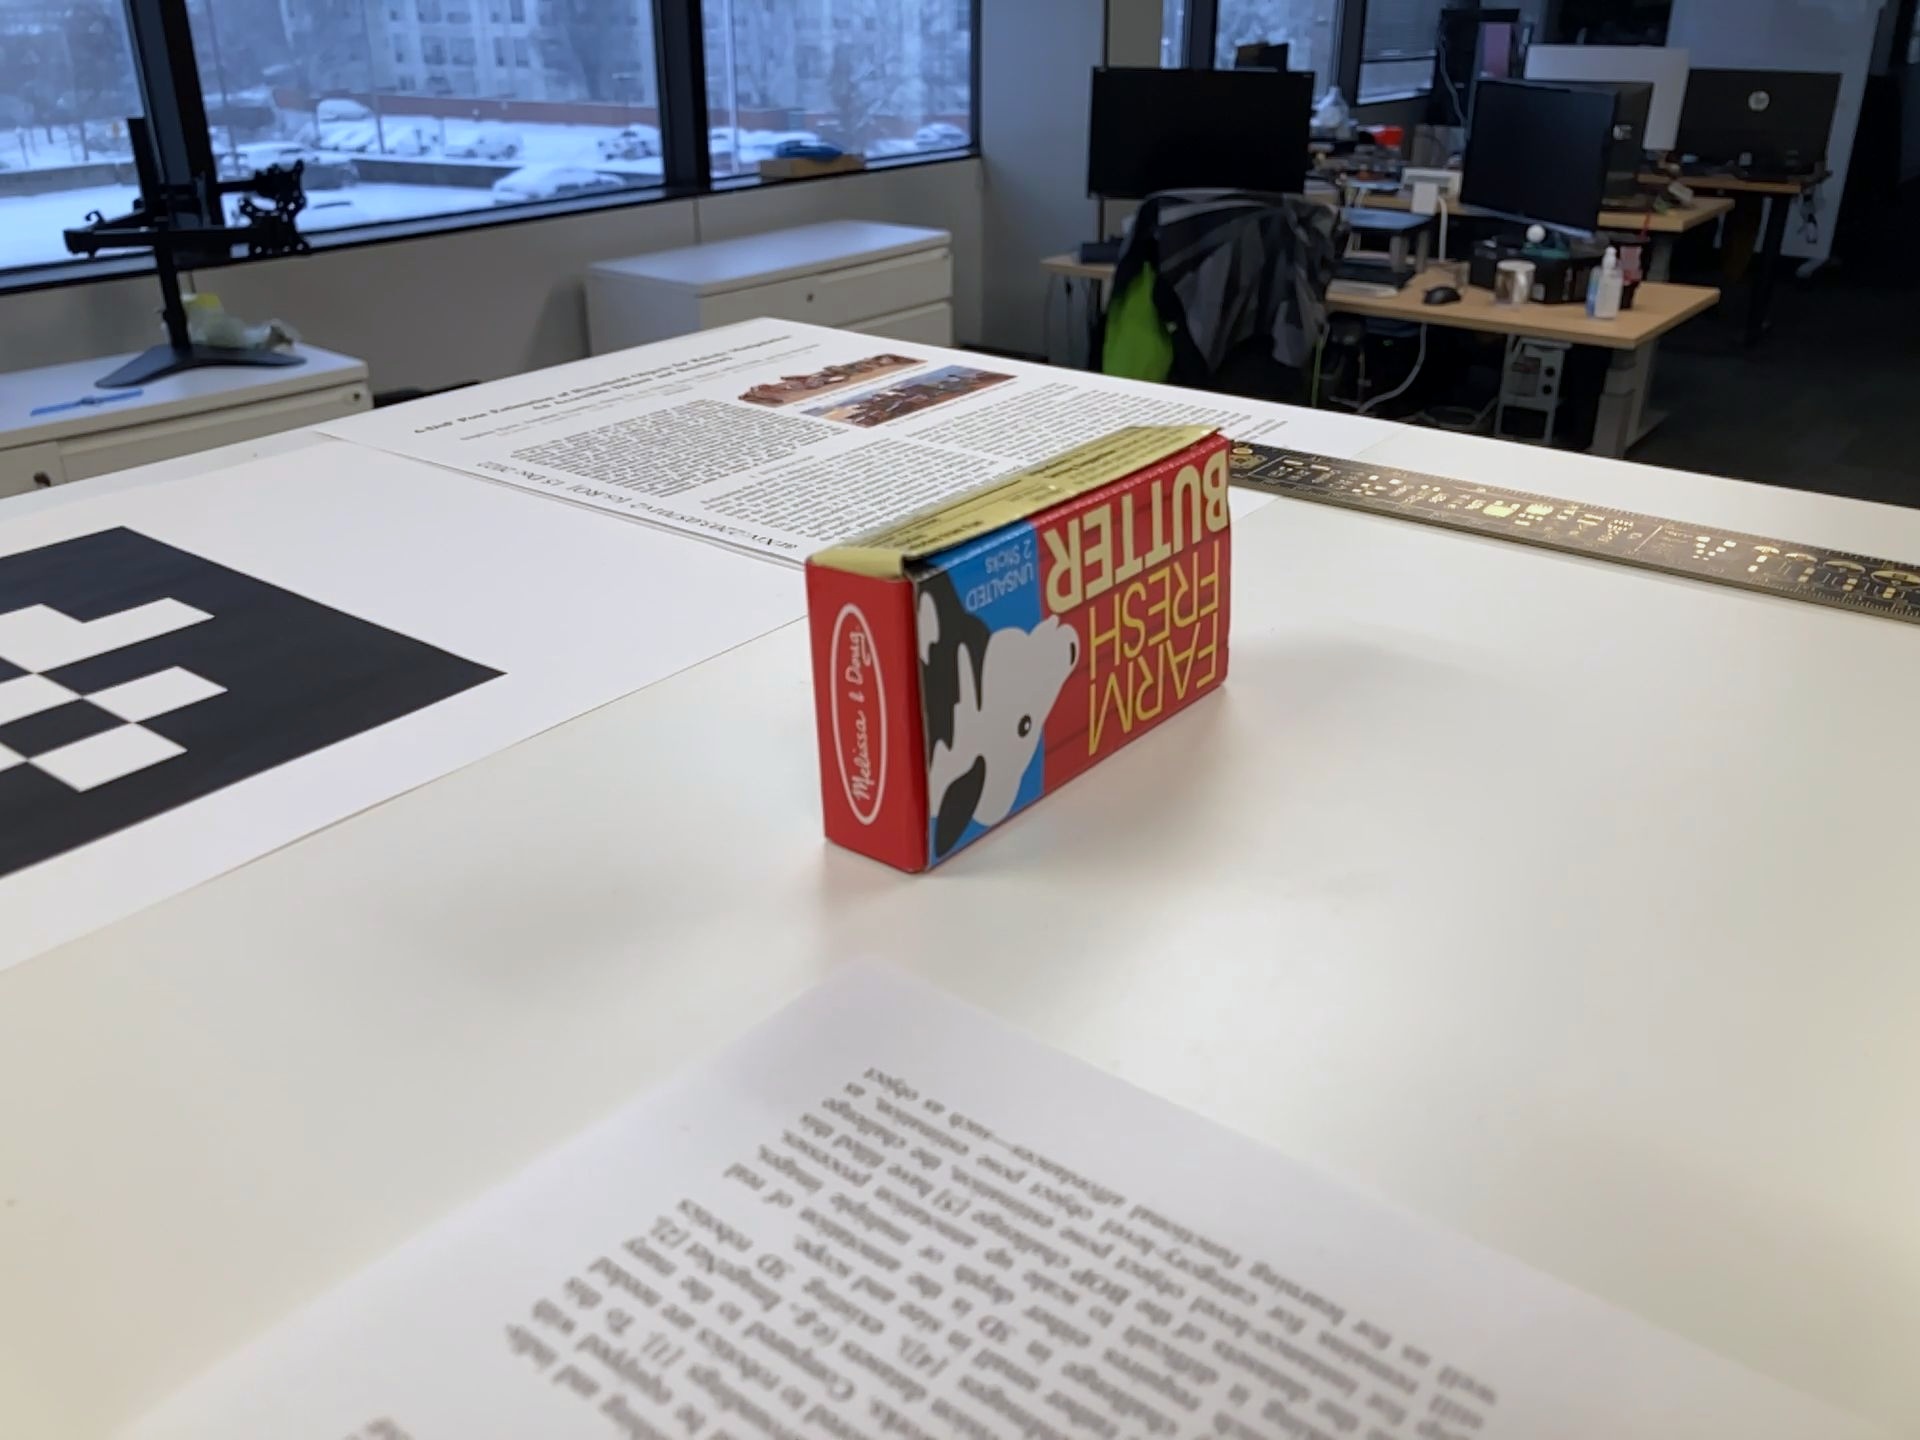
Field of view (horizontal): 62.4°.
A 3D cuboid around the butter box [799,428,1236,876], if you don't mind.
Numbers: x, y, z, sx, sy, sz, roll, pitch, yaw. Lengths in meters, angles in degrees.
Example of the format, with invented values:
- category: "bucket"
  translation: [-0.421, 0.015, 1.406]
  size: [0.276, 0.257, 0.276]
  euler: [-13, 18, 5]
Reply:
- category: "butter box"
  translation: [0.016, -0.017, 0.288]
  size: [0.024, 0.053, 0.103]
  euler: [14, 28, 35]
